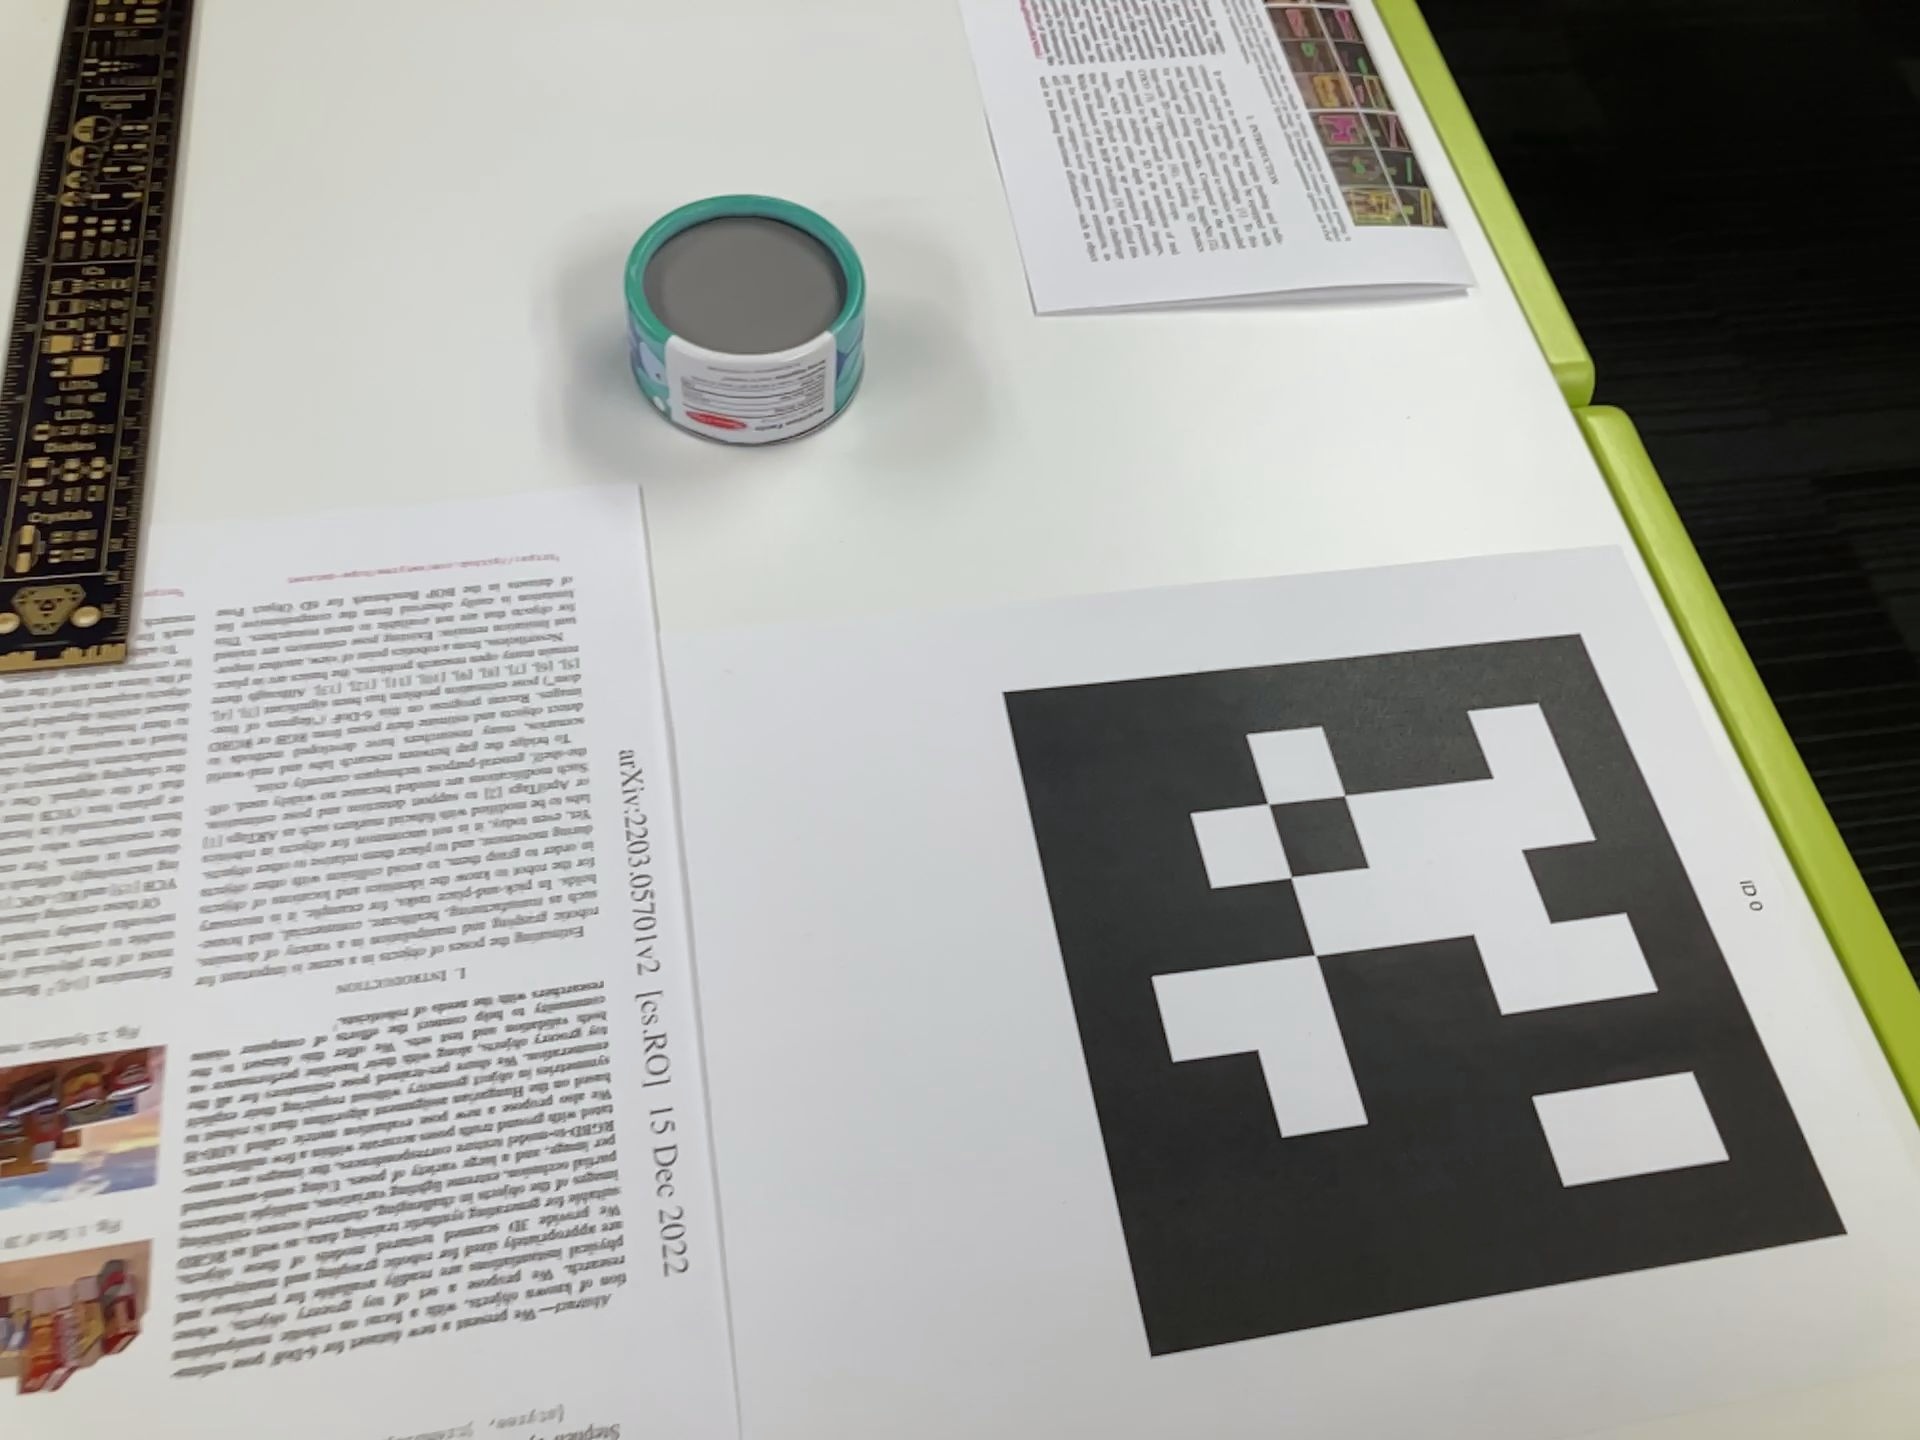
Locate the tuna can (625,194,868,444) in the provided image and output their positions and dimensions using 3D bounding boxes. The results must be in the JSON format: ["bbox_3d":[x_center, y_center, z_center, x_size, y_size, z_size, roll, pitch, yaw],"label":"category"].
[{"bbox_3d":[-0.059,-0.115,0.444,0.071,0.033,0.071,4,58,-6],"label":"tuna can"}]
